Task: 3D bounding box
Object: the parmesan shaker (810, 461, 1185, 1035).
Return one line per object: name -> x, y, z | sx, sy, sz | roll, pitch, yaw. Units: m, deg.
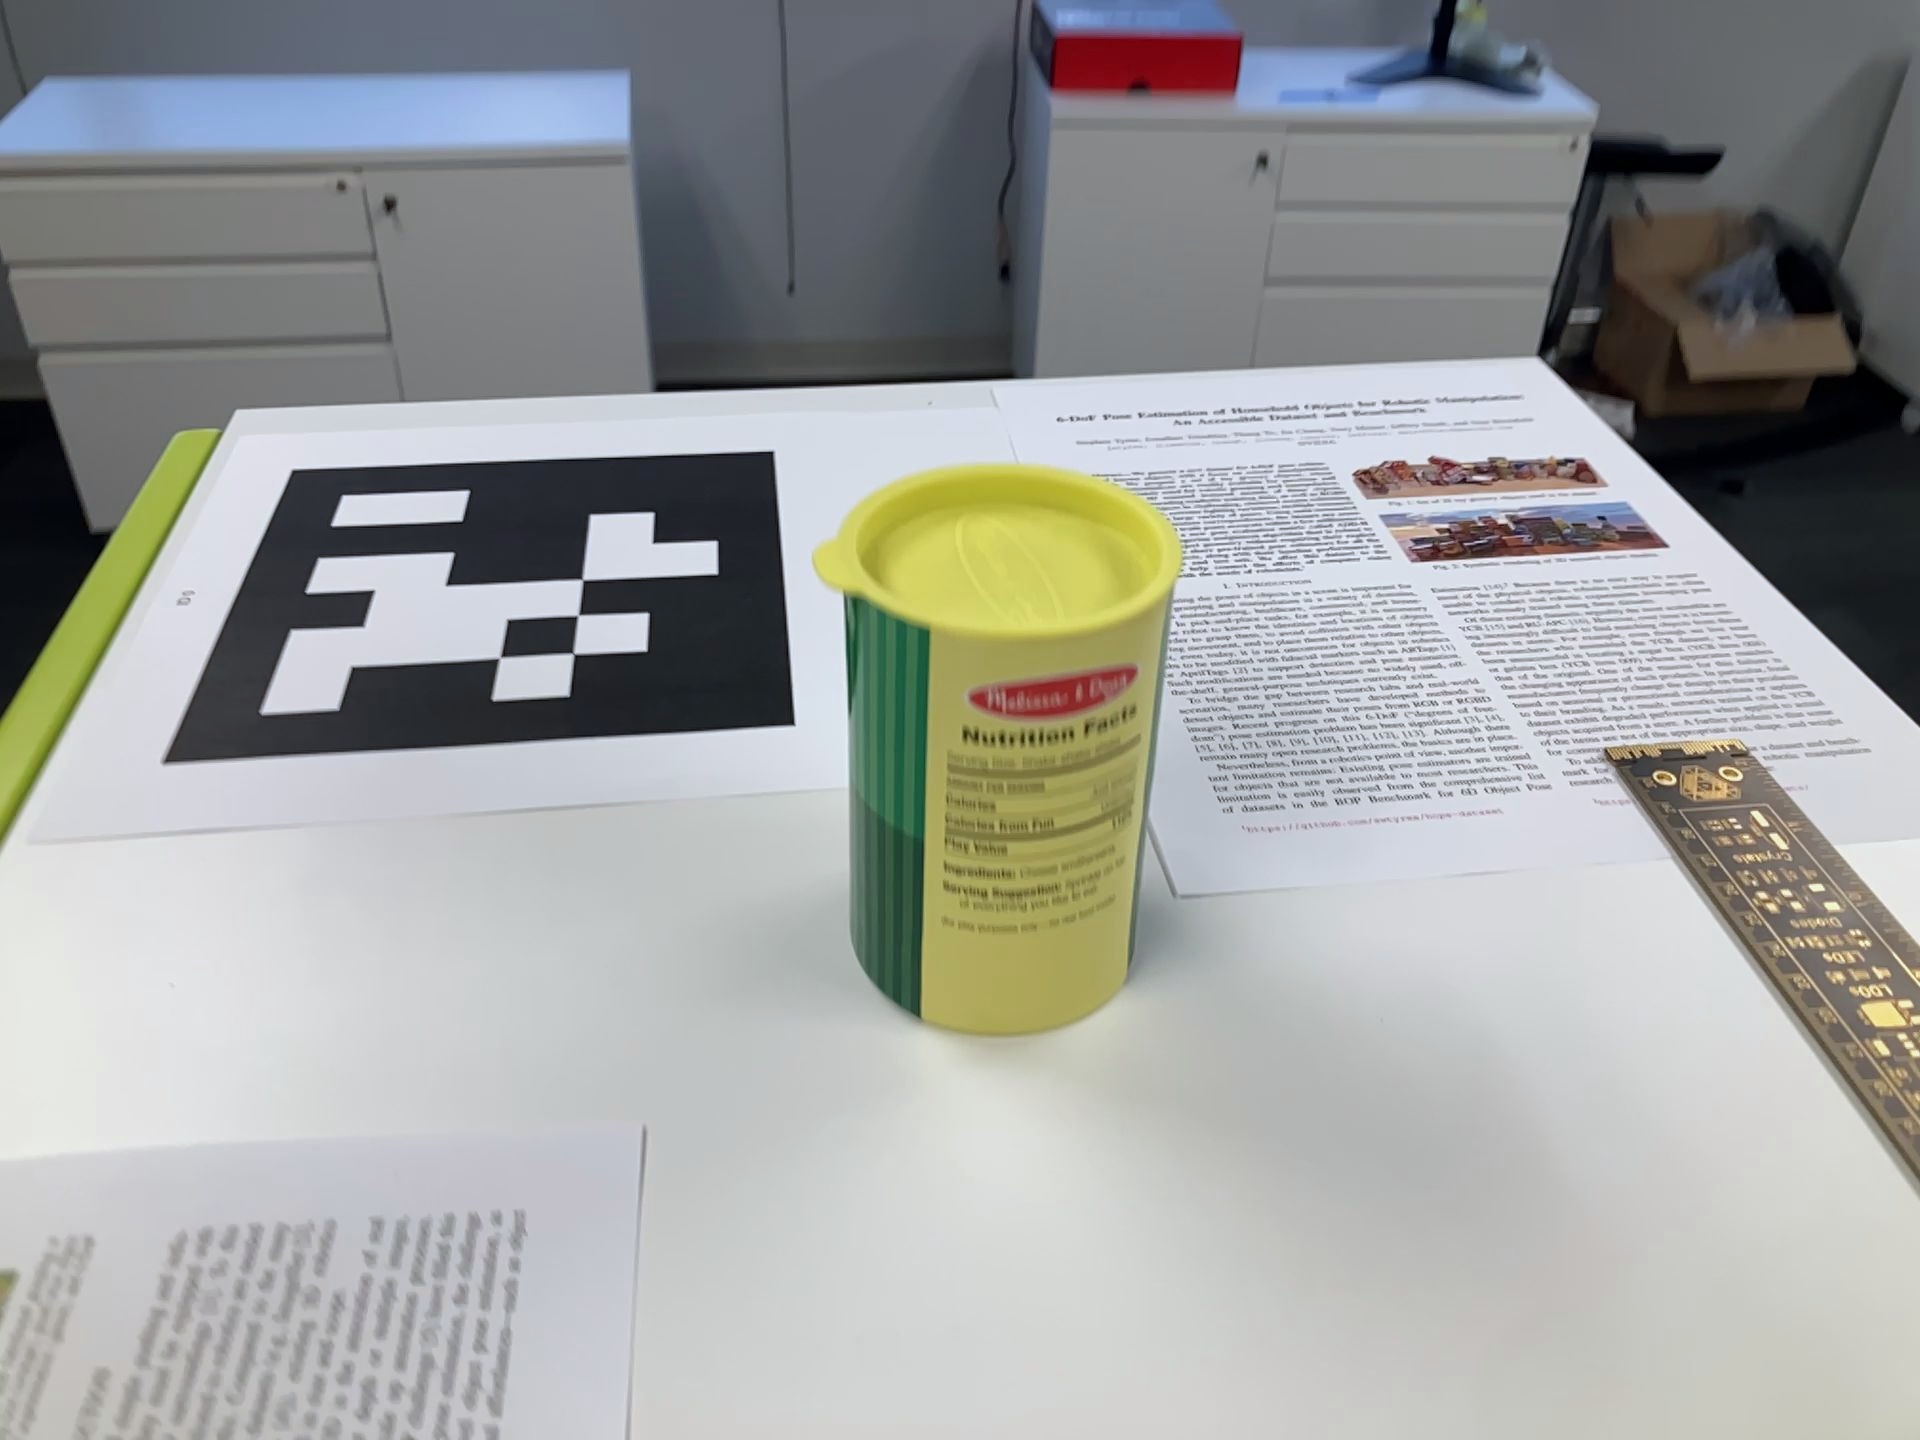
parmesan shaker -> 0.005, 0.007, 0.332 | 0.071, 0.103, 0.071 | 1, 36, -1
